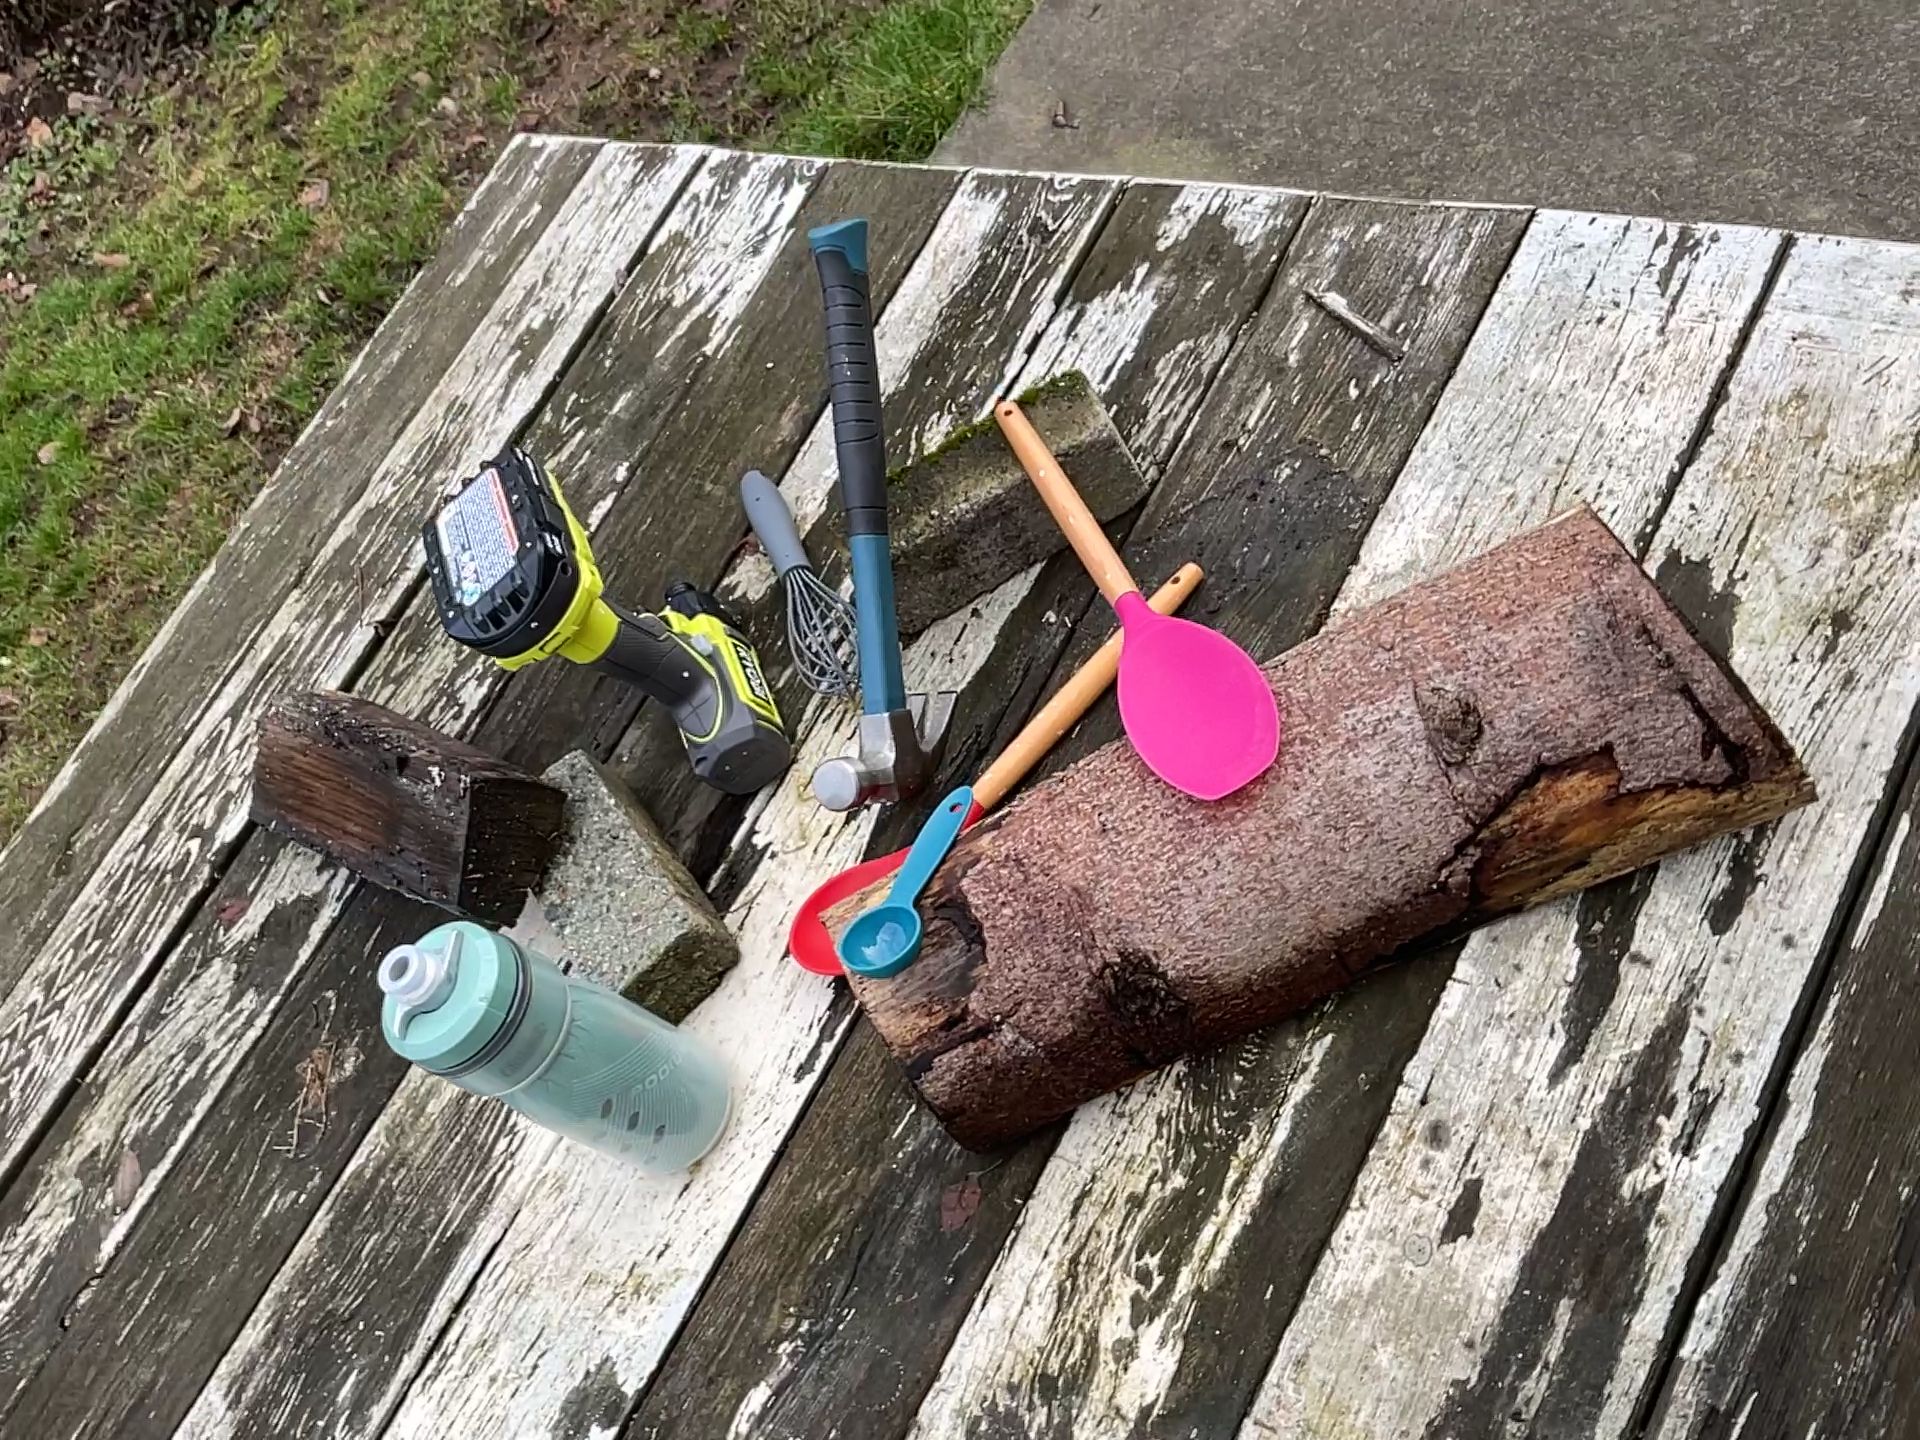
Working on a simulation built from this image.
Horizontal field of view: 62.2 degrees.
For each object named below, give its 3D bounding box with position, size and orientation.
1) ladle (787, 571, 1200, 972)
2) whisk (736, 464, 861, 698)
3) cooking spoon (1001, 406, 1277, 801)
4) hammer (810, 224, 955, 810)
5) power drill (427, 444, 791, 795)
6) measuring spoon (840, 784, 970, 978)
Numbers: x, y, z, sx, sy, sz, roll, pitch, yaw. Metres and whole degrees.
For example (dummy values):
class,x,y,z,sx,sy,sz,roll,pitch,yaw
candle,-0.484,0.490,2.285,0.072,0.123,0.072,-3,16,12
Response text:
class,x,y,z,sx,sy,sz,roll,pitch,yaw
ladle,0.025,0.028,0.907,0.315,0.031,0.069,-45,48,-5
whisk,-0.108,-0.100,1.040,0.055,0.055,0.239,-30,48,0
cooking spoon,0.080,-0.076,0.834,0.069,0.017,0.319,-33,47,9
hammer,-0.053,-0.119,0.913,0.033,0.128,0.331,-4,92,25
power drill,-0.207,-0.062,0.967,0.080,0.222,0.171,-39,48,13
measuring spoon,-0.019,0.082,0.799,0.042,0.021,0.129,-1,40,29
